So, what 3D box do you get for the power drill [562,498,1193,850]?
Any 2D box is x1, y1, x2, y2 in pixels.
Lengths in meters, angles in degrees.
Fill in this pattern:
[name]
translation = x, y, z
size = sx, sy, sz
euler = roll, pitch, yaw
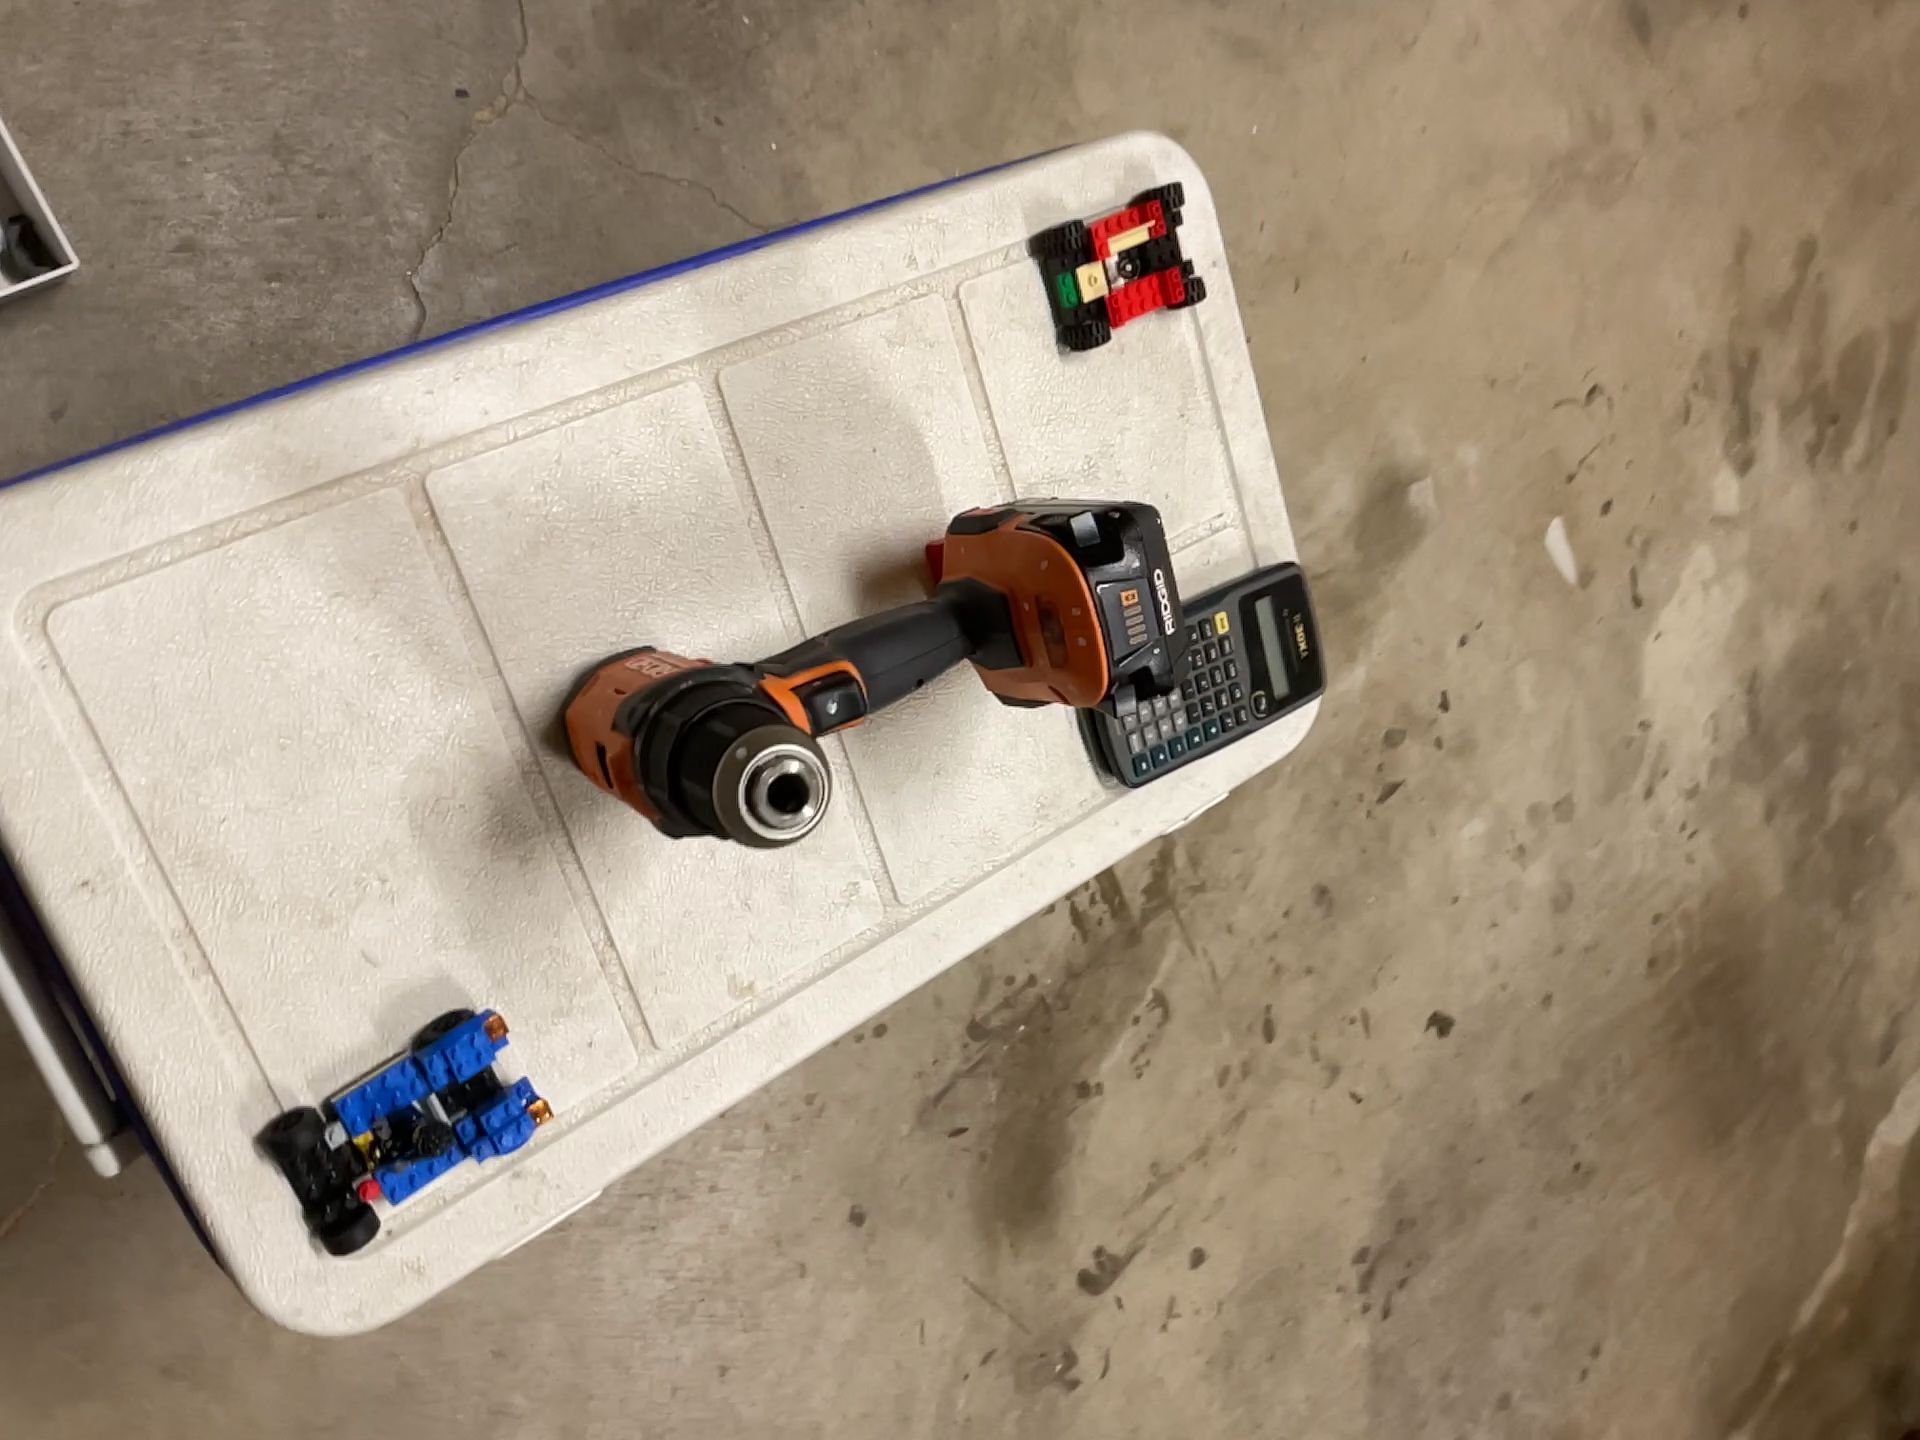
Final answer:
[power drill]
translation = -0.024, -0.017, 0.600
size = 0.226, 0.185, 0.084
euler = -21, 106, -21
